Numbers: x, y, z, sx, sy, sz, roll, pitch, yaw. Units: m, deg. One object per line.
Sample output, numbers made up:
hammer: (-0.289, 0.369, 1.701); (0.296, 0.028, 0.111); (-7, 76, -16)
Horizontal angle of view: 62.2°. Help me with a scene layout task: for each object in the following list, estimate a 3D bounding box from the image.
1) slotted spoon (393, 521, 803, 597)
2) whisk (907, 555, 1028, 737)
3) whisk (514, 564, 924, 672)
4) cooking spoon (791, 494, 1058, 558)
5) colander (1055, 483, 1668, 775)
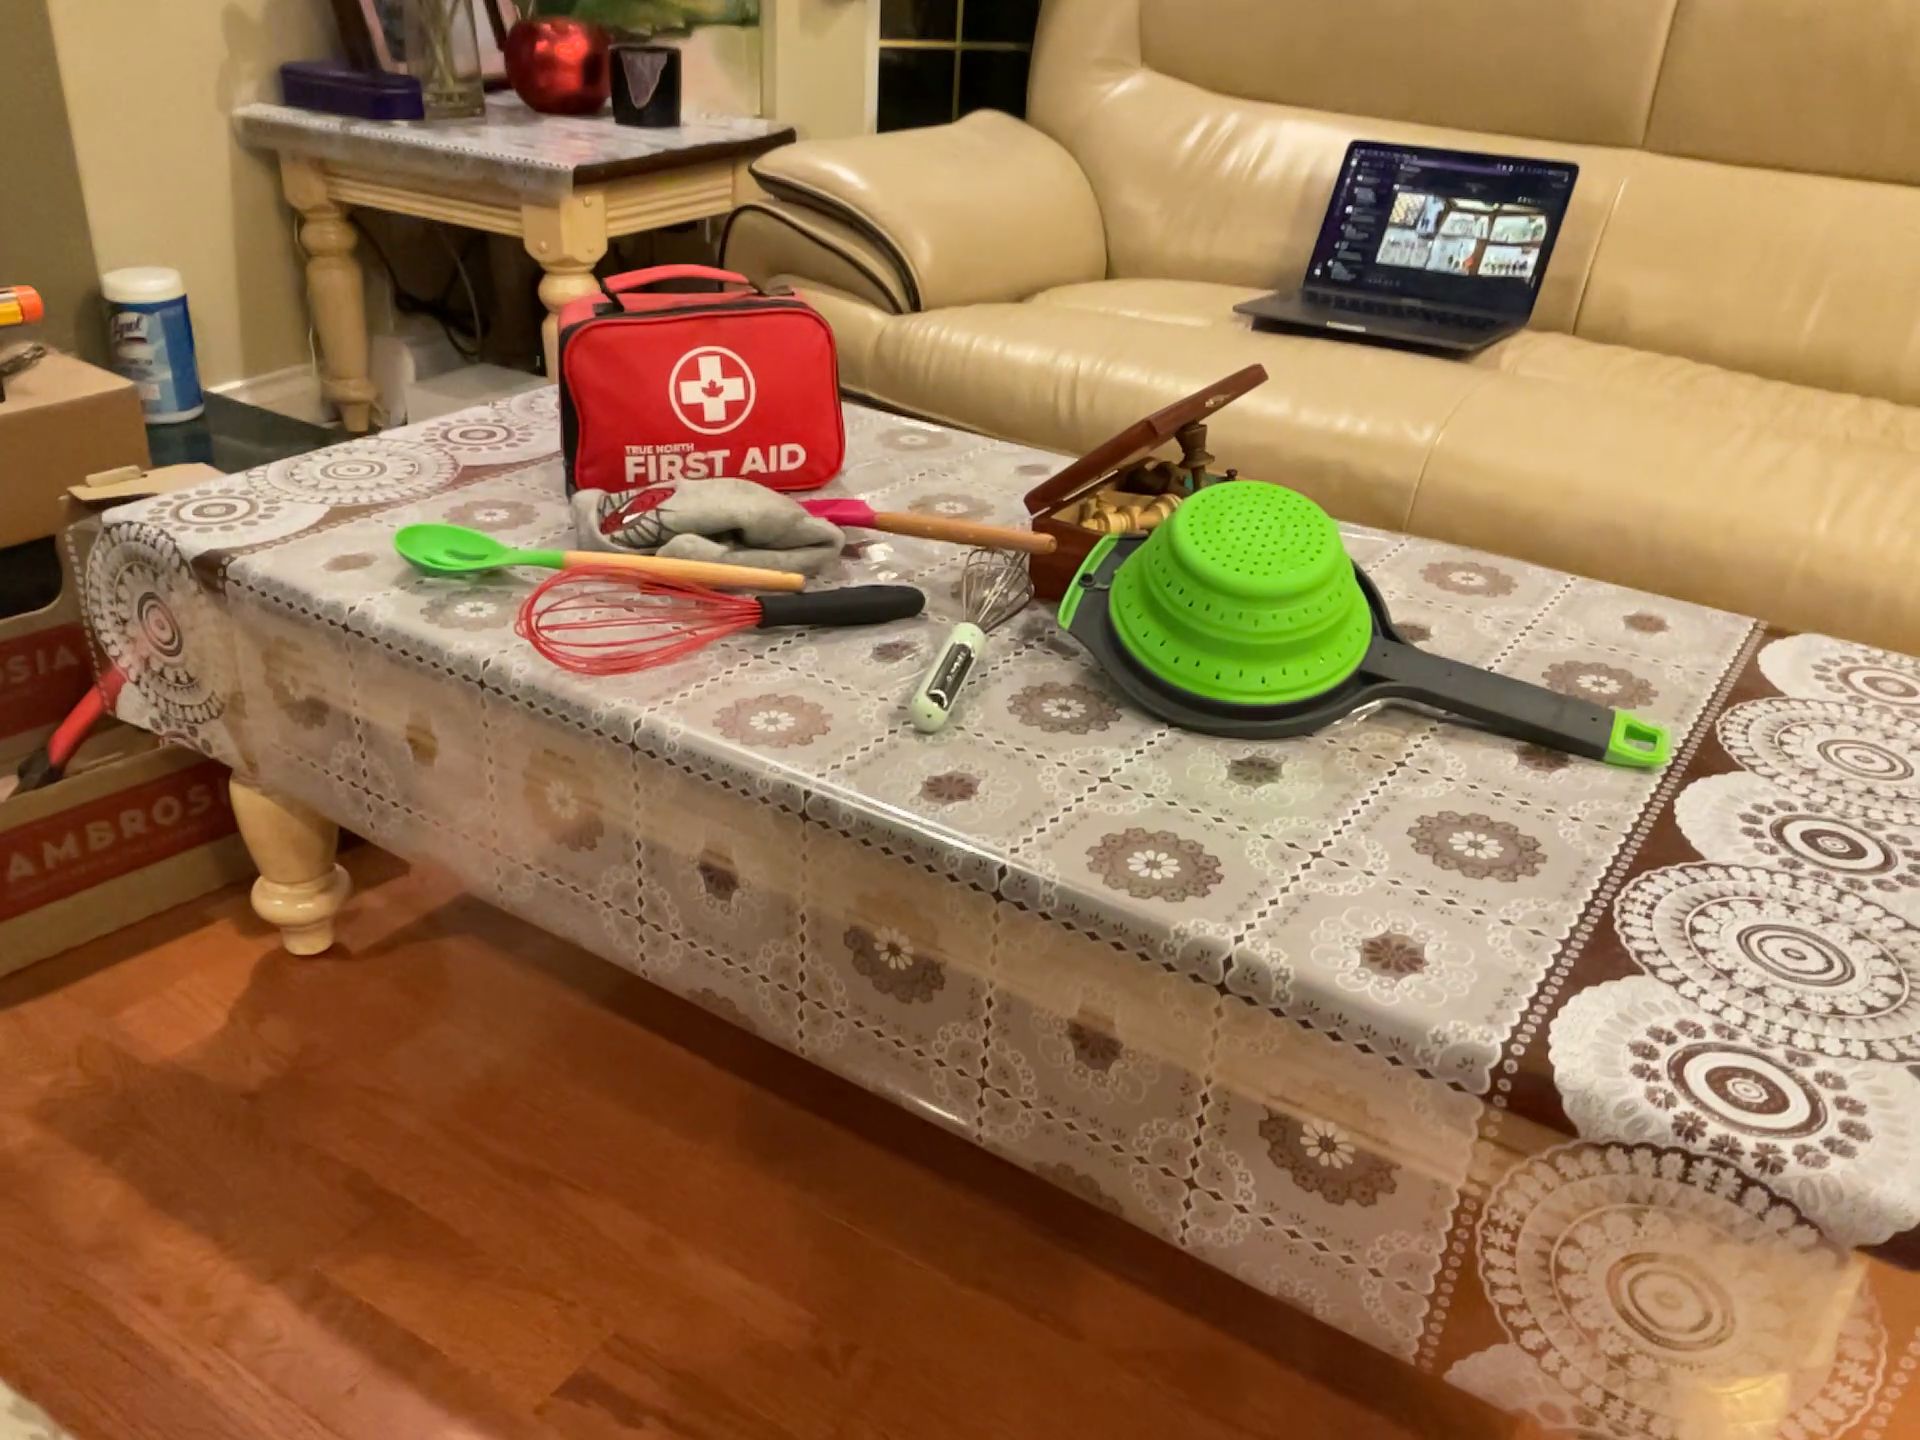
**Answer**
slotted spoon: (-0.264, -0.111, 1.150); (0.314, 0.031, 0.070); (7, 27, 13)
whisk: (0.006, -0.053, 1.086); (0.058, 0.059, 0.246); (-31, 16, 28)
whisk: (-0.156, -0.073, 1.087); (0.295, 0.073, 0.073); (-5, 22, -30)
cooking spoon: (-0.046, -0.151, 1.226); (0.069, 0.017, 0.319); (-24, 27, -39)
colander: (0.262, -0.062, 1.023); (0.397, 0.094, 0.205); (19, 50, 15)
